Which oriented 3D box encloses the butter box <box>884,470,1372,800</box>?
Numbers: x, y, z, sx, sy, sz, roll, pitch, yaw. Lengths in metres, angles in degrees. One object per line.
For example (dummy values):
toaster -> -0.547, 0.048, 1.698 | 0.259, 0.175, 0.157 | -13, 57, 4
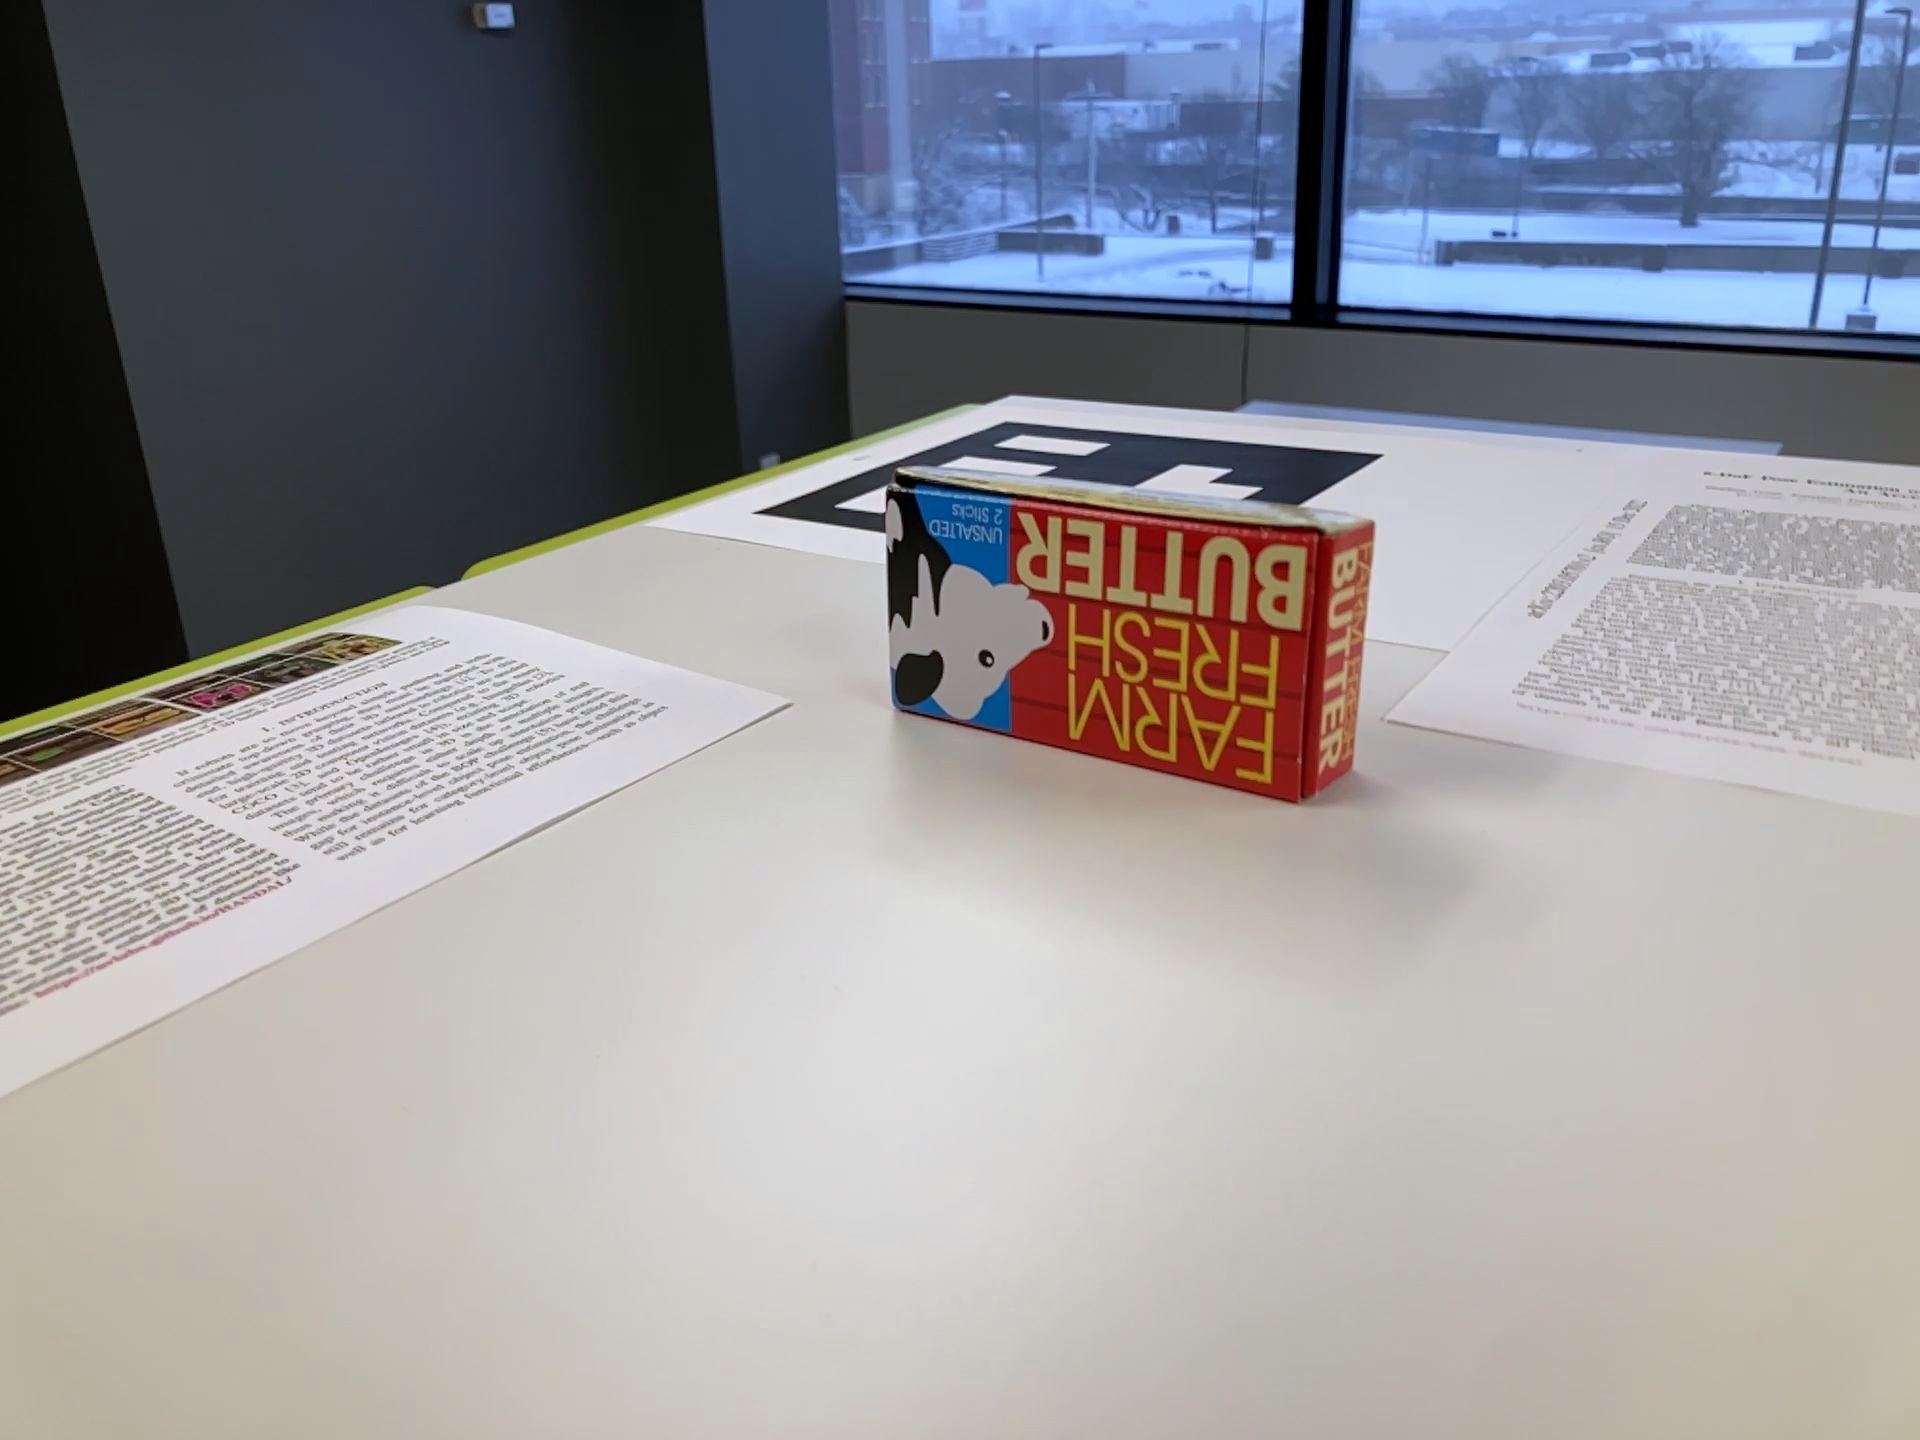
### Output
butter box -> 0.031, -0.021, 0.327 | 0.103, 0.053, 0.024 | 12, 23, 32
